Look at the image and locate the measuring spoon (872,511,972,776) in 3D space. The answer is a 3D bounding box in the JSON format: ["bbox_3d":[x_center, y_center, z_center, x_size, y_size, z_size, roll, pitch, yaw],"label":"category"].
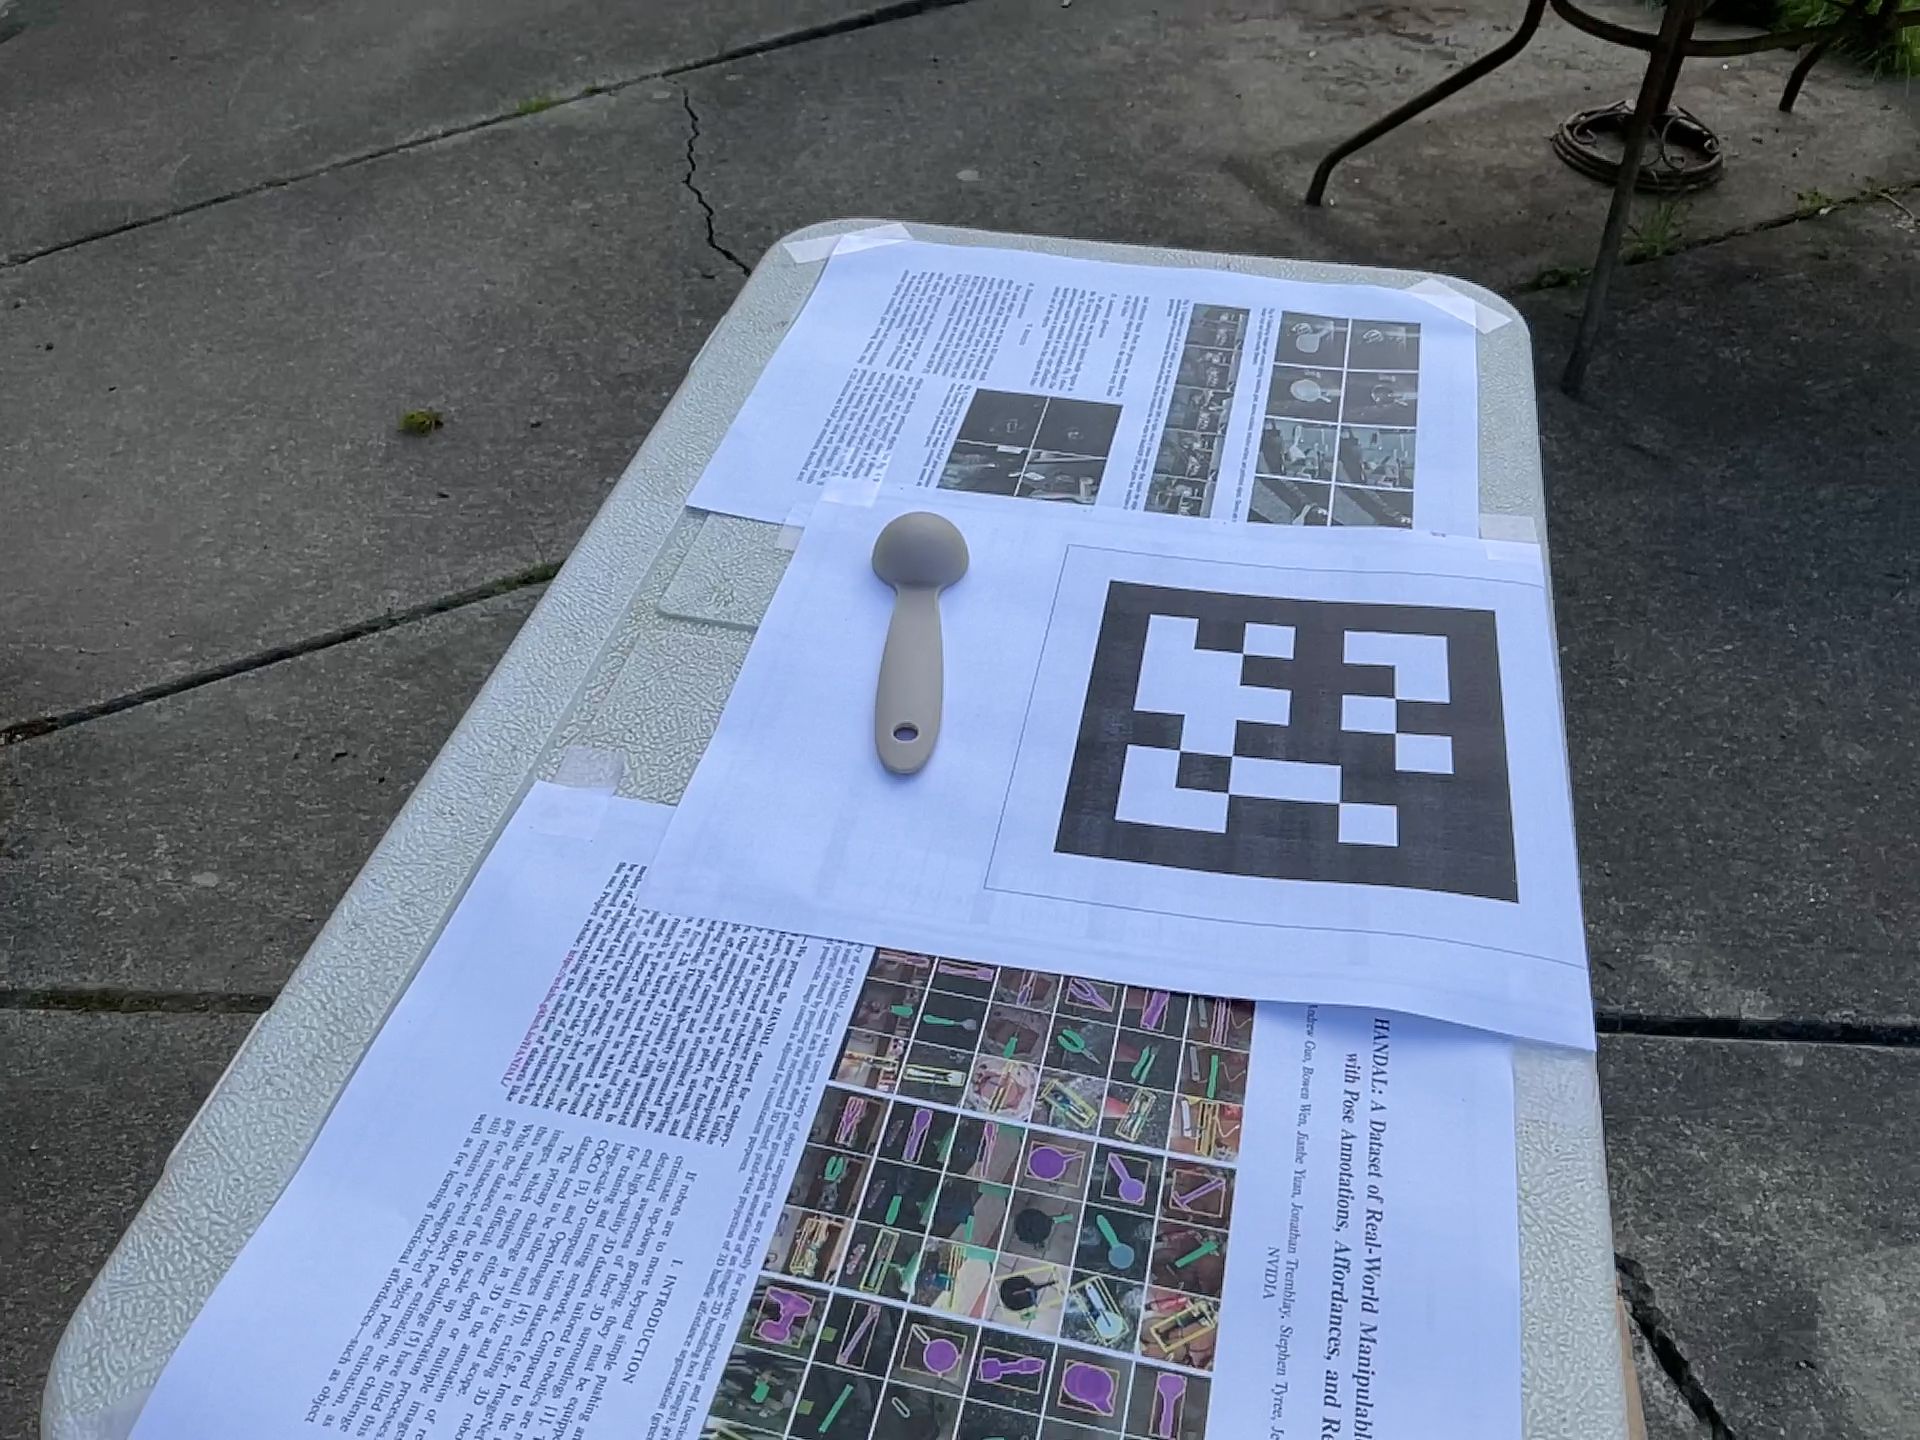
[{"bbox_3d":[-0.015,-0.030,0.512,0.034,0.018,0.124,2,43,1],"label":"measuring spoon"}]
